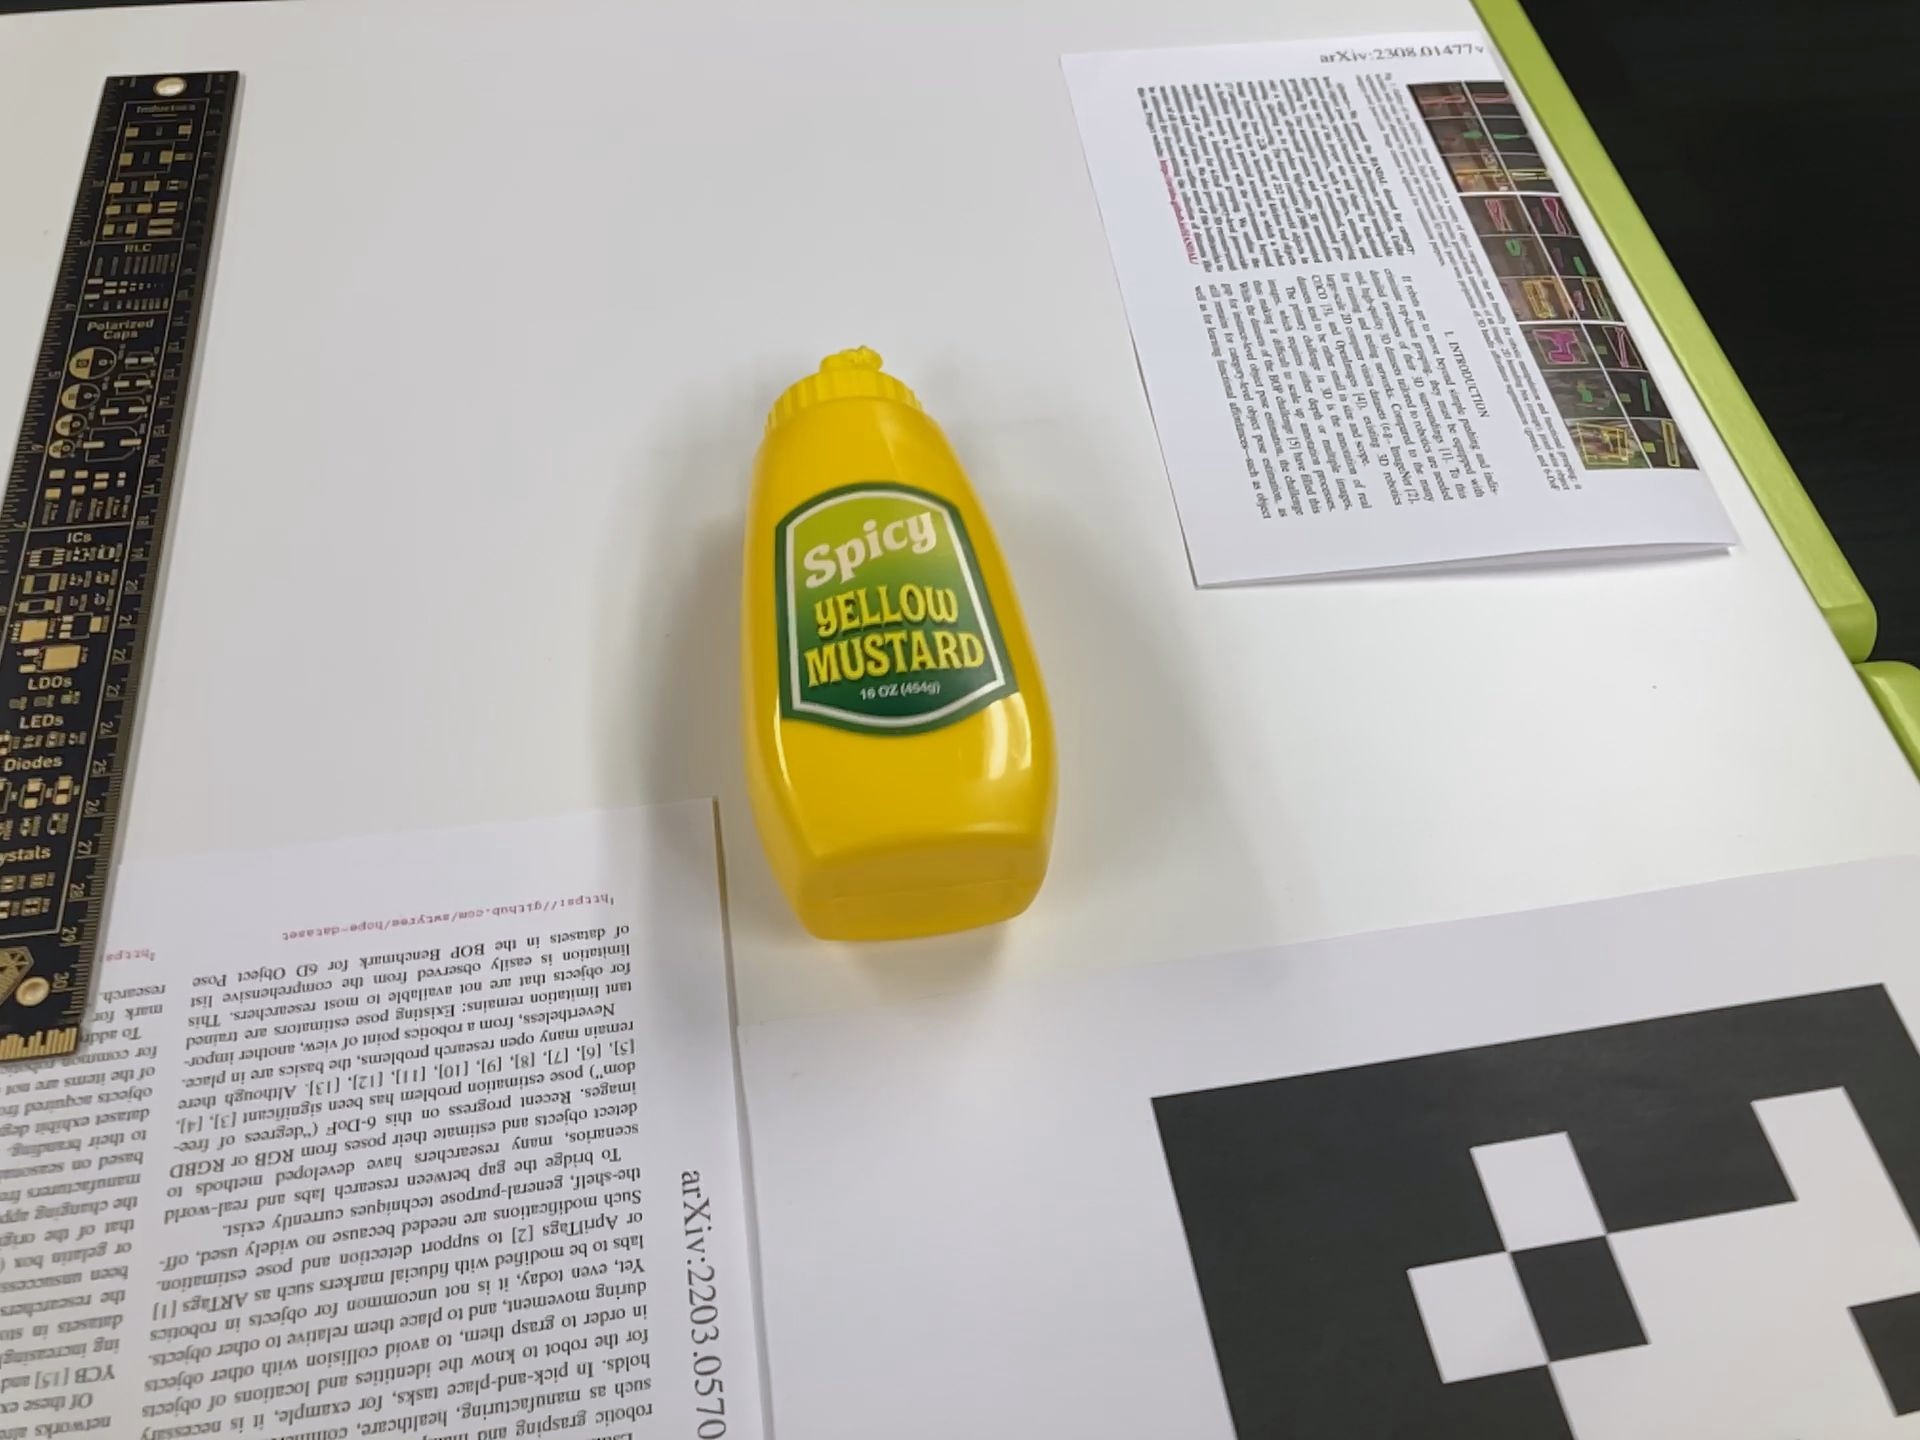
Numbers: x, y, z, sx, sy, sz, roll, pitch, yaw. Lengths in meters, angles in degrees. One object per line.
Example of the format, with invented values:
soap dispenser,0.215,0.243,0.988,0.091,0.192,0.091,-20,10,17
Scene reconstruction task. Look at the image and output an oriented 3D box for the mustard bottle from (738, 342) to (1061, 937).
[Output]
mustard bottle,-0.021,-0.031,0.356,0.065,0.049,0.160,-6,56,-9
